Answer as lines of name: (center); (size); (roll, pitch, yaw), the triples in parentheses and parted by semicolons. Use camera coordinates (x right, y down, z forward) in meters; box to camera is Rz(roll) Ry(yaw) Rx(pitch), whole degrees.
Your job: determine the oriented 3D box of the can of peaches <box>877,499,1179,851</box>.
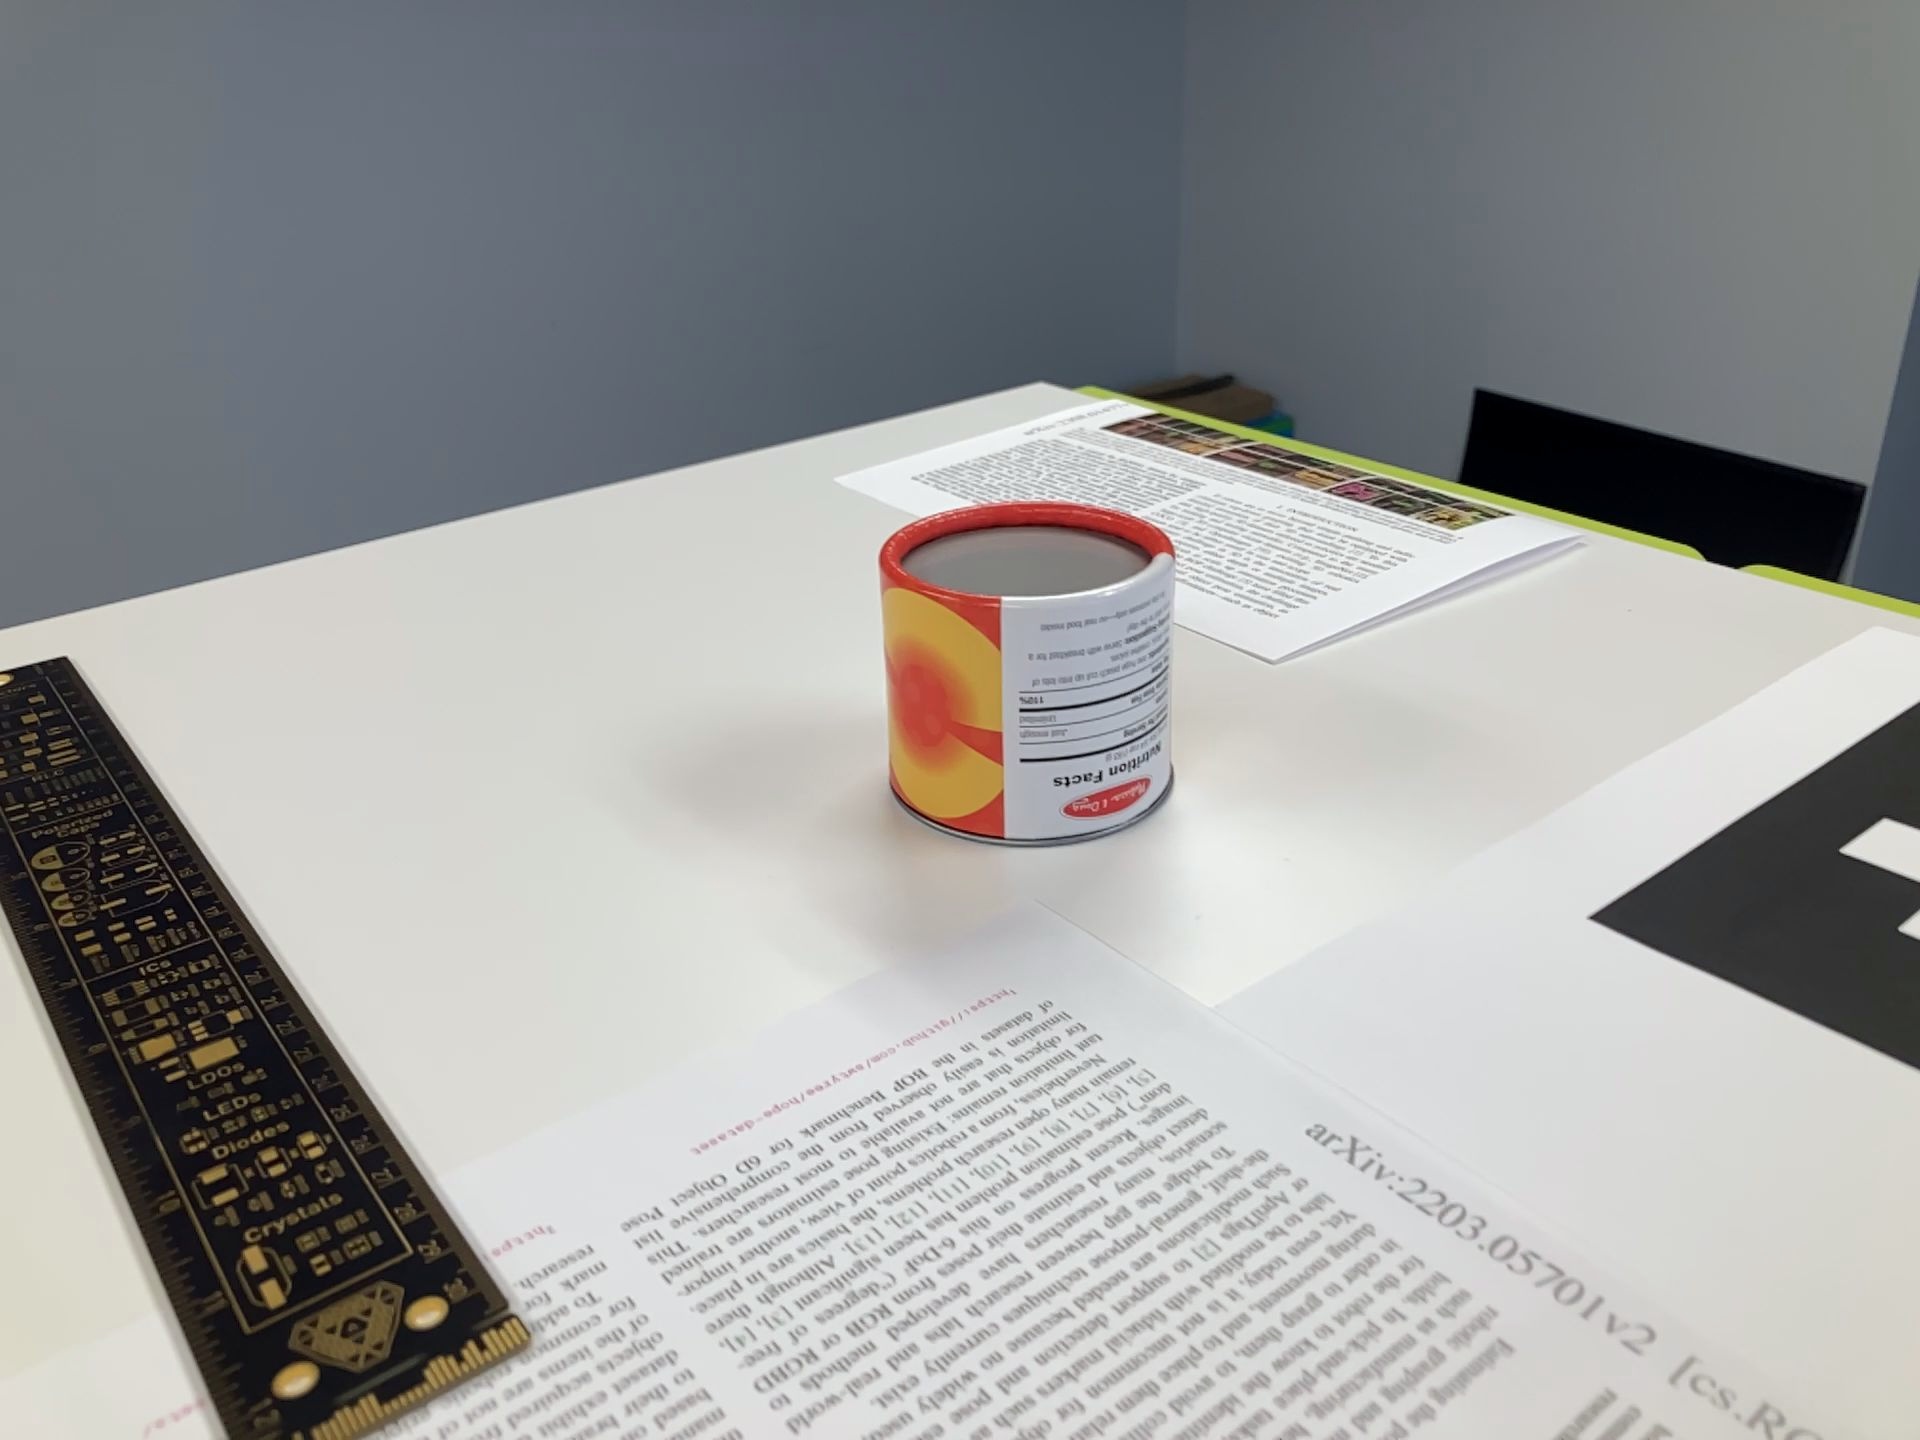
can of peaches: (0.014, -0.013, 0.355); (0.071, 0.058, 0.071); (-2, 27, 1)
